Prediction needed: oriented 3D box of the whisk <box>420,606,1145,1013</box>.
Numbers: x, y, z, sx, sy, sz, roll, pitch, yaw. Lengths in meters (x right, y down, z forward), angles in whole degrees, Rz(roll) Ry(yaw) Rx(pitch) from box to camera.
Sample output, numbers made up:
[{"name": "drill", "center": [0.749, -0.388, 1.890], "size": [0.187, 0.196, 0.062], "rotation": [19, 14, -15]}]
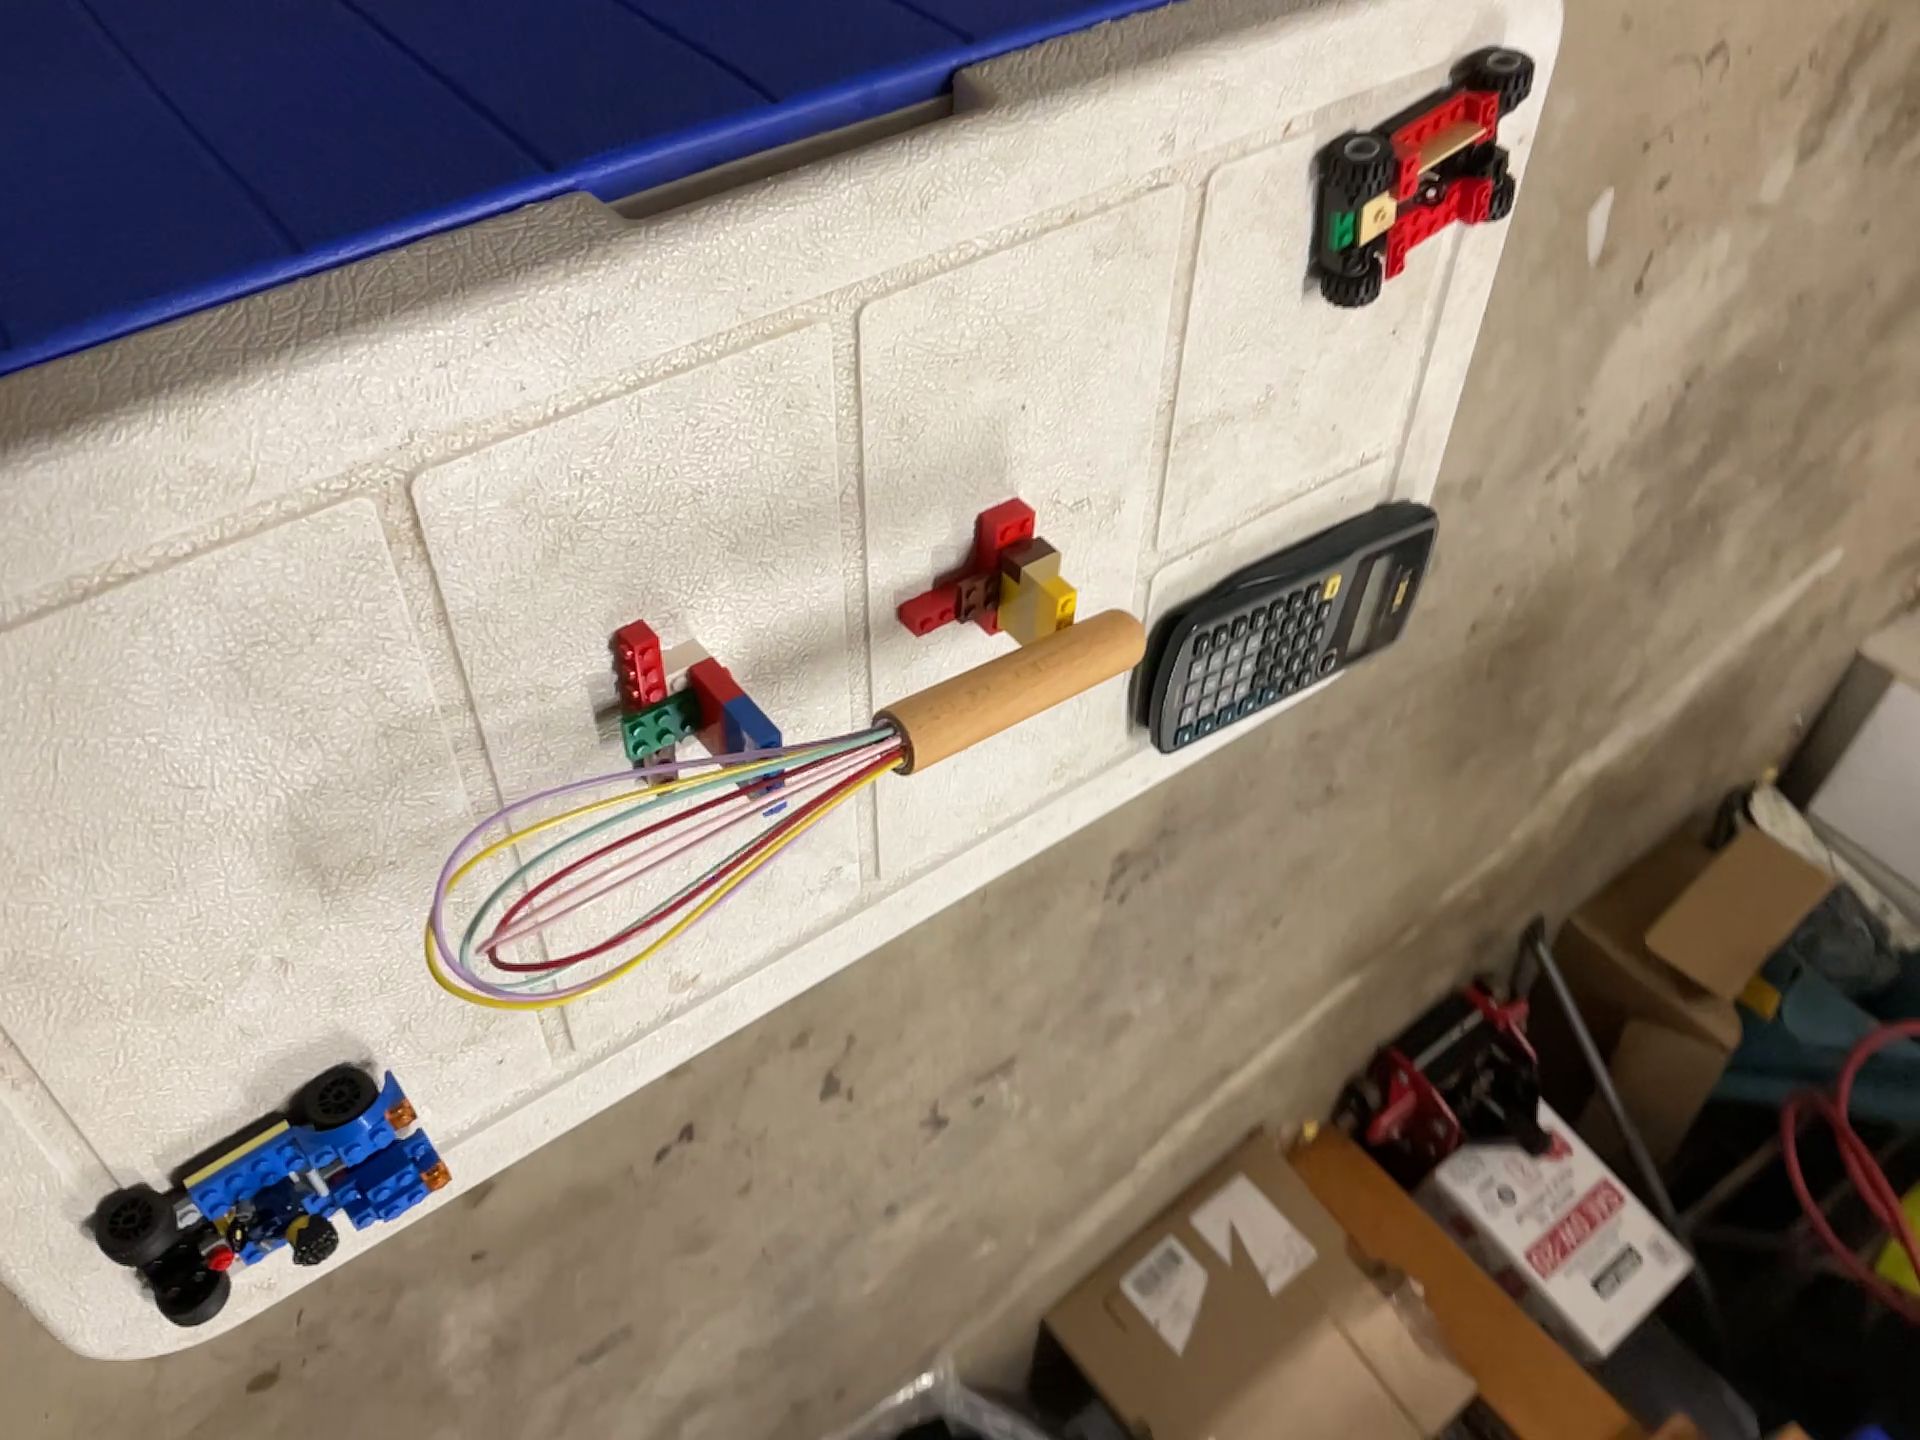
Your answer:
[{"name": "whisk", "center": [-0.036, 0.018, 0.455], "size": [0.245, 0.047, 0.051], "rotation": [-25, 129, -33]}]
